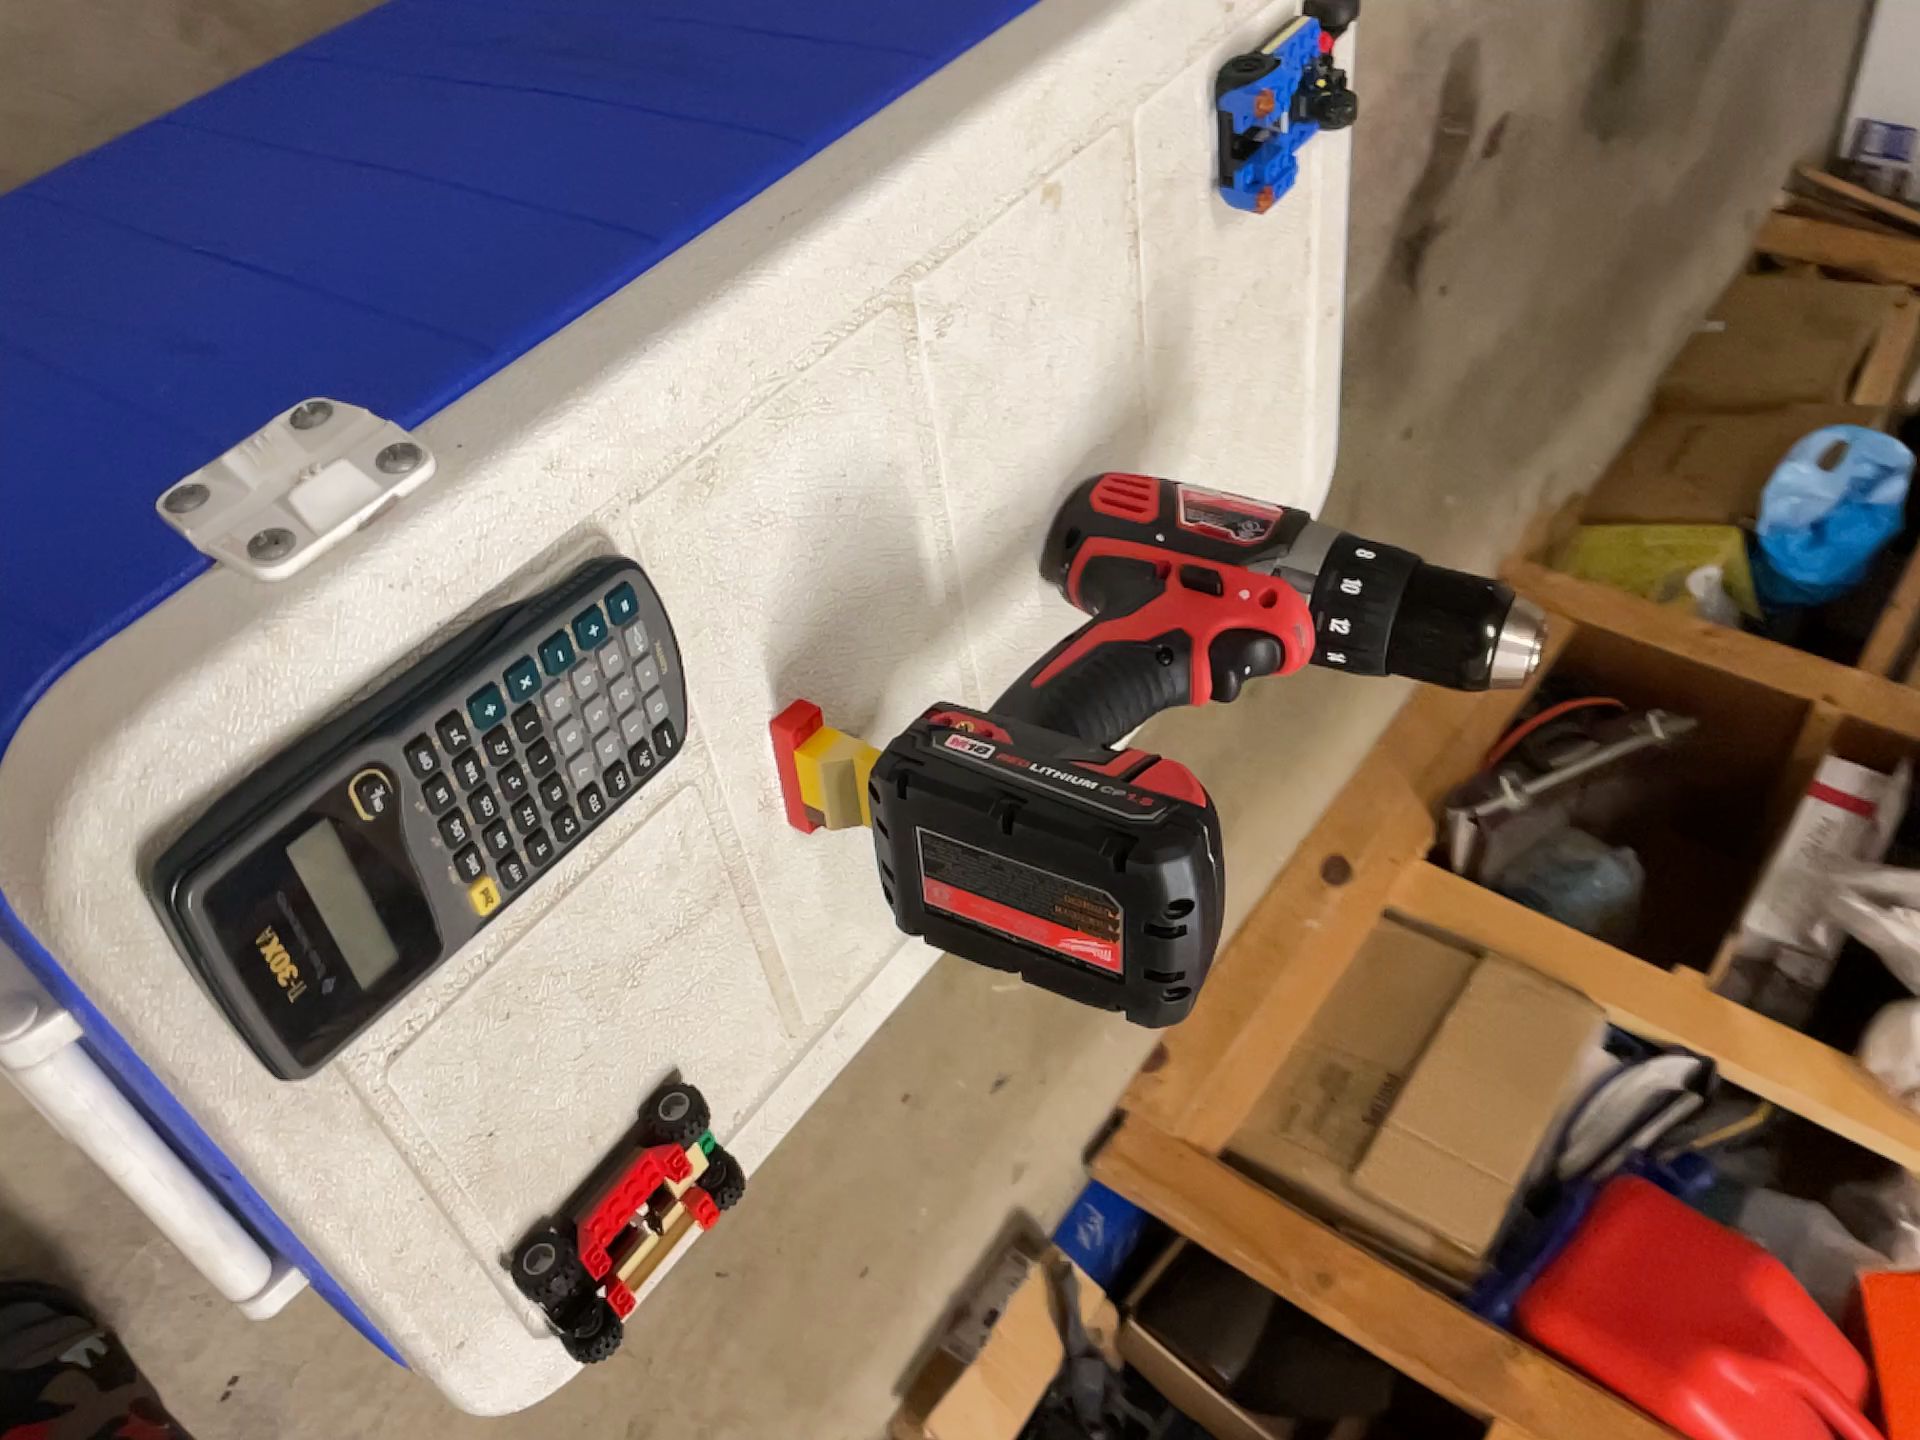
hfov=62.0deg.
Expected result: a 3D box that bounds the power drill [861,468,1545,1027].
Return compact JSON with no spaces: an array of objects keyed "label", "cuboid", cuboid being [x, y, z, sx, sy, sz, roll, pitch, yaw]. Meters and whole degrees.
[{"label":"power drill","cuboid":[0.089,-0.004,0.565,0.227,0.188,0.080,-51,149,-41]}]
